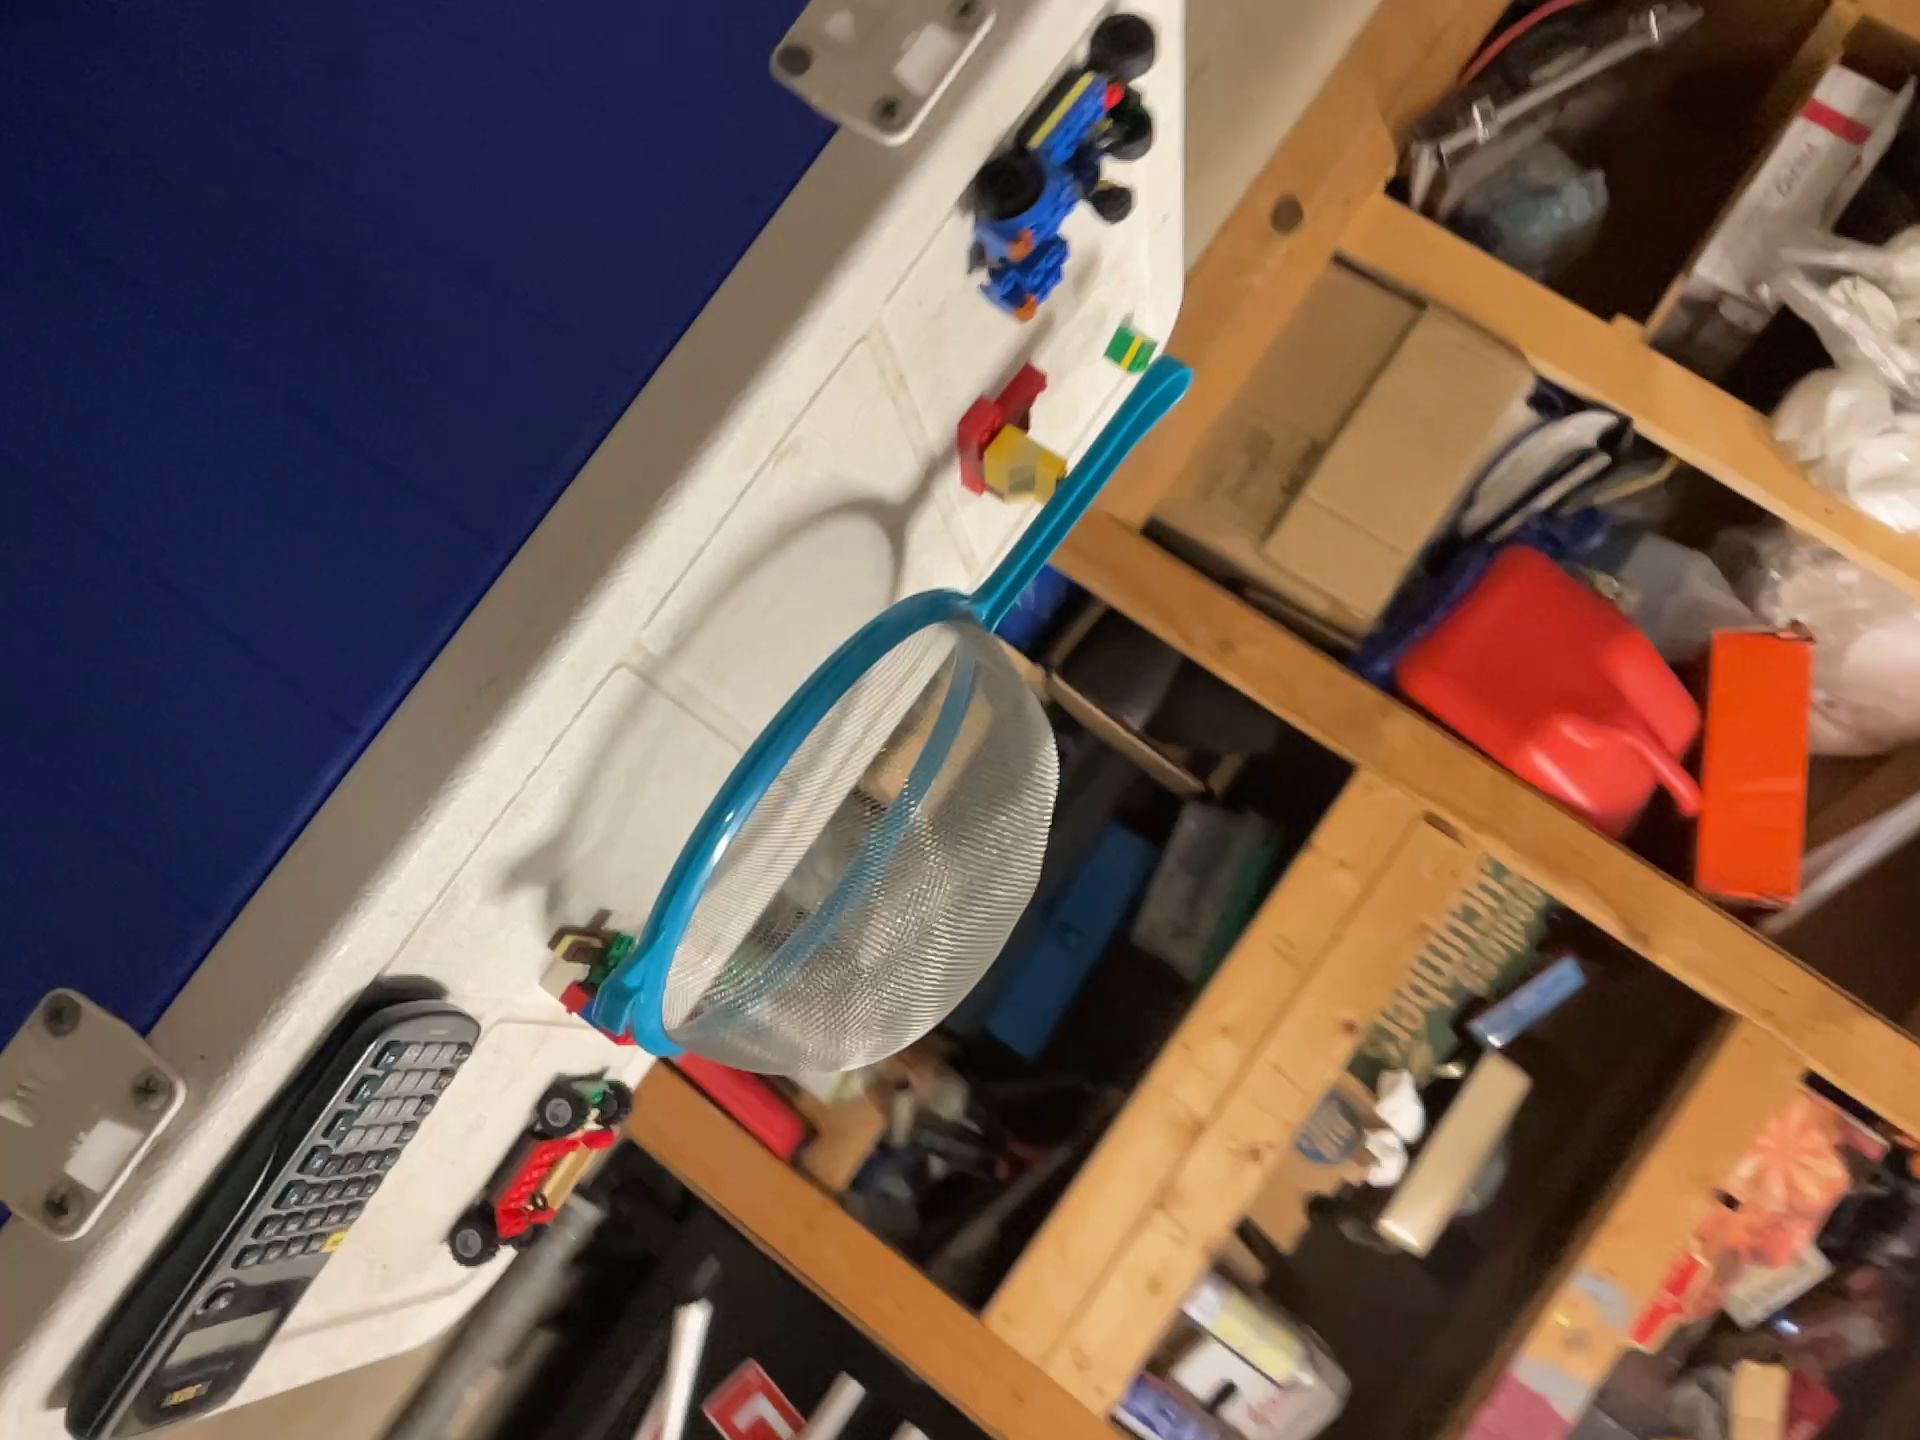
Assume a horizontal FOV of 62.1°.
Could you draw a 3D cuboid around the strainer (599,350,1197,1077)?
[{"bbox_3d":[0.017,0.010,0.615,0.340,0.095,0.211,-53,166,-7],"label":"strainer"}]
